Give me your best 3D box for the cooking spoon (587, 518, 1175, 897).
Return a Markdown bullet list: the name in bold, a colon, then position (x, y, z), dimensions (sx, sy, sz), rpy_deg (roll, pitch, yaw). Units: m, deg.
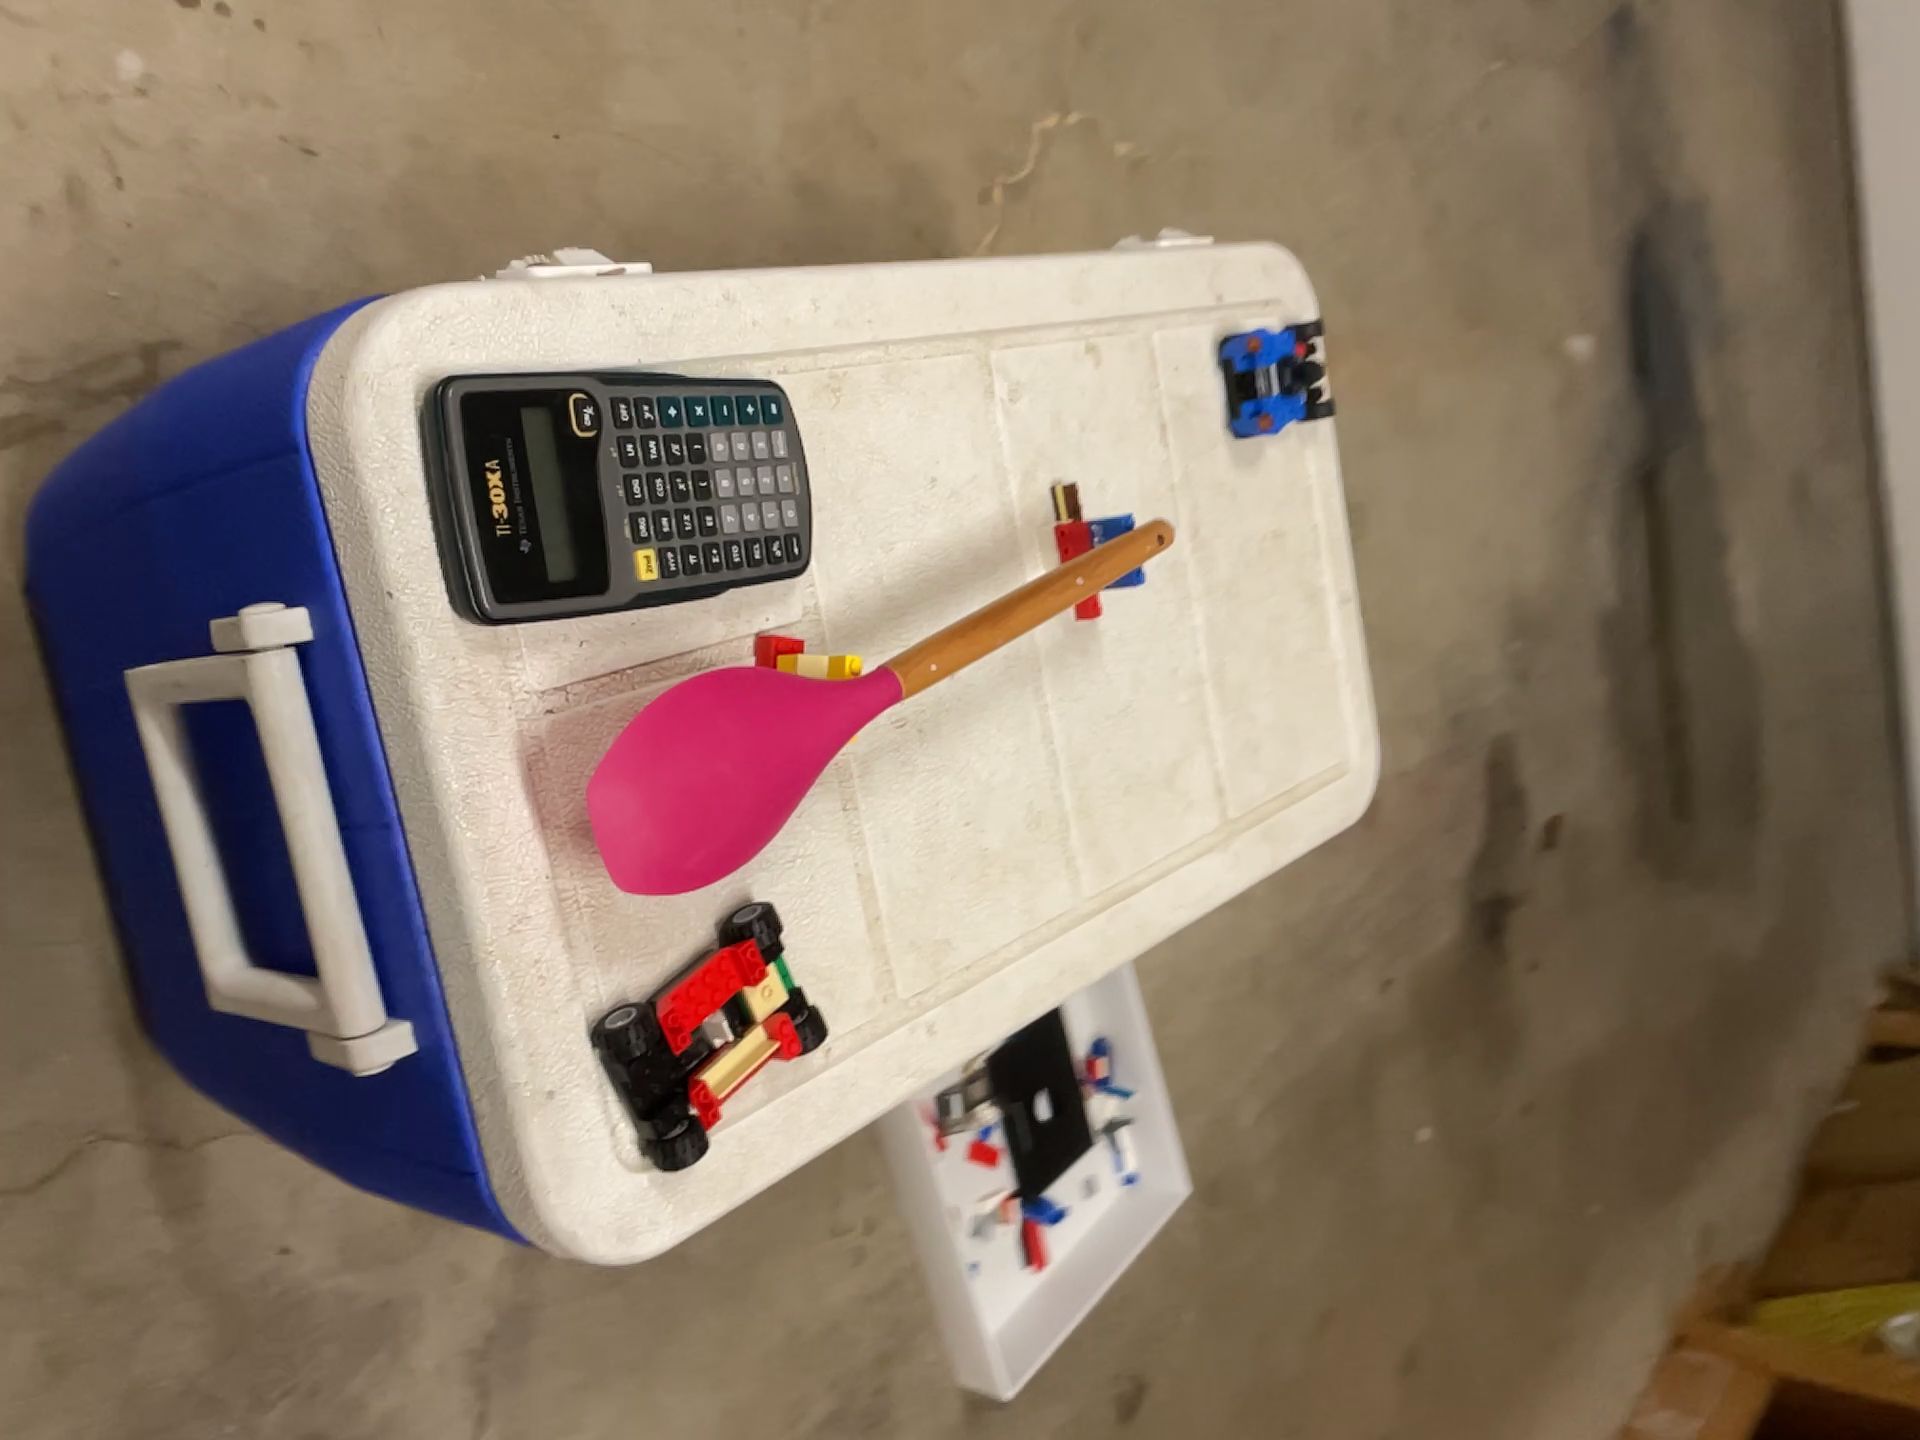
- **cooking spoon**: position (-0.010, -0.023, 0.600), dimensions (0.319, 0.017, 0.068), rpy_deg (-31, 116, -43)
